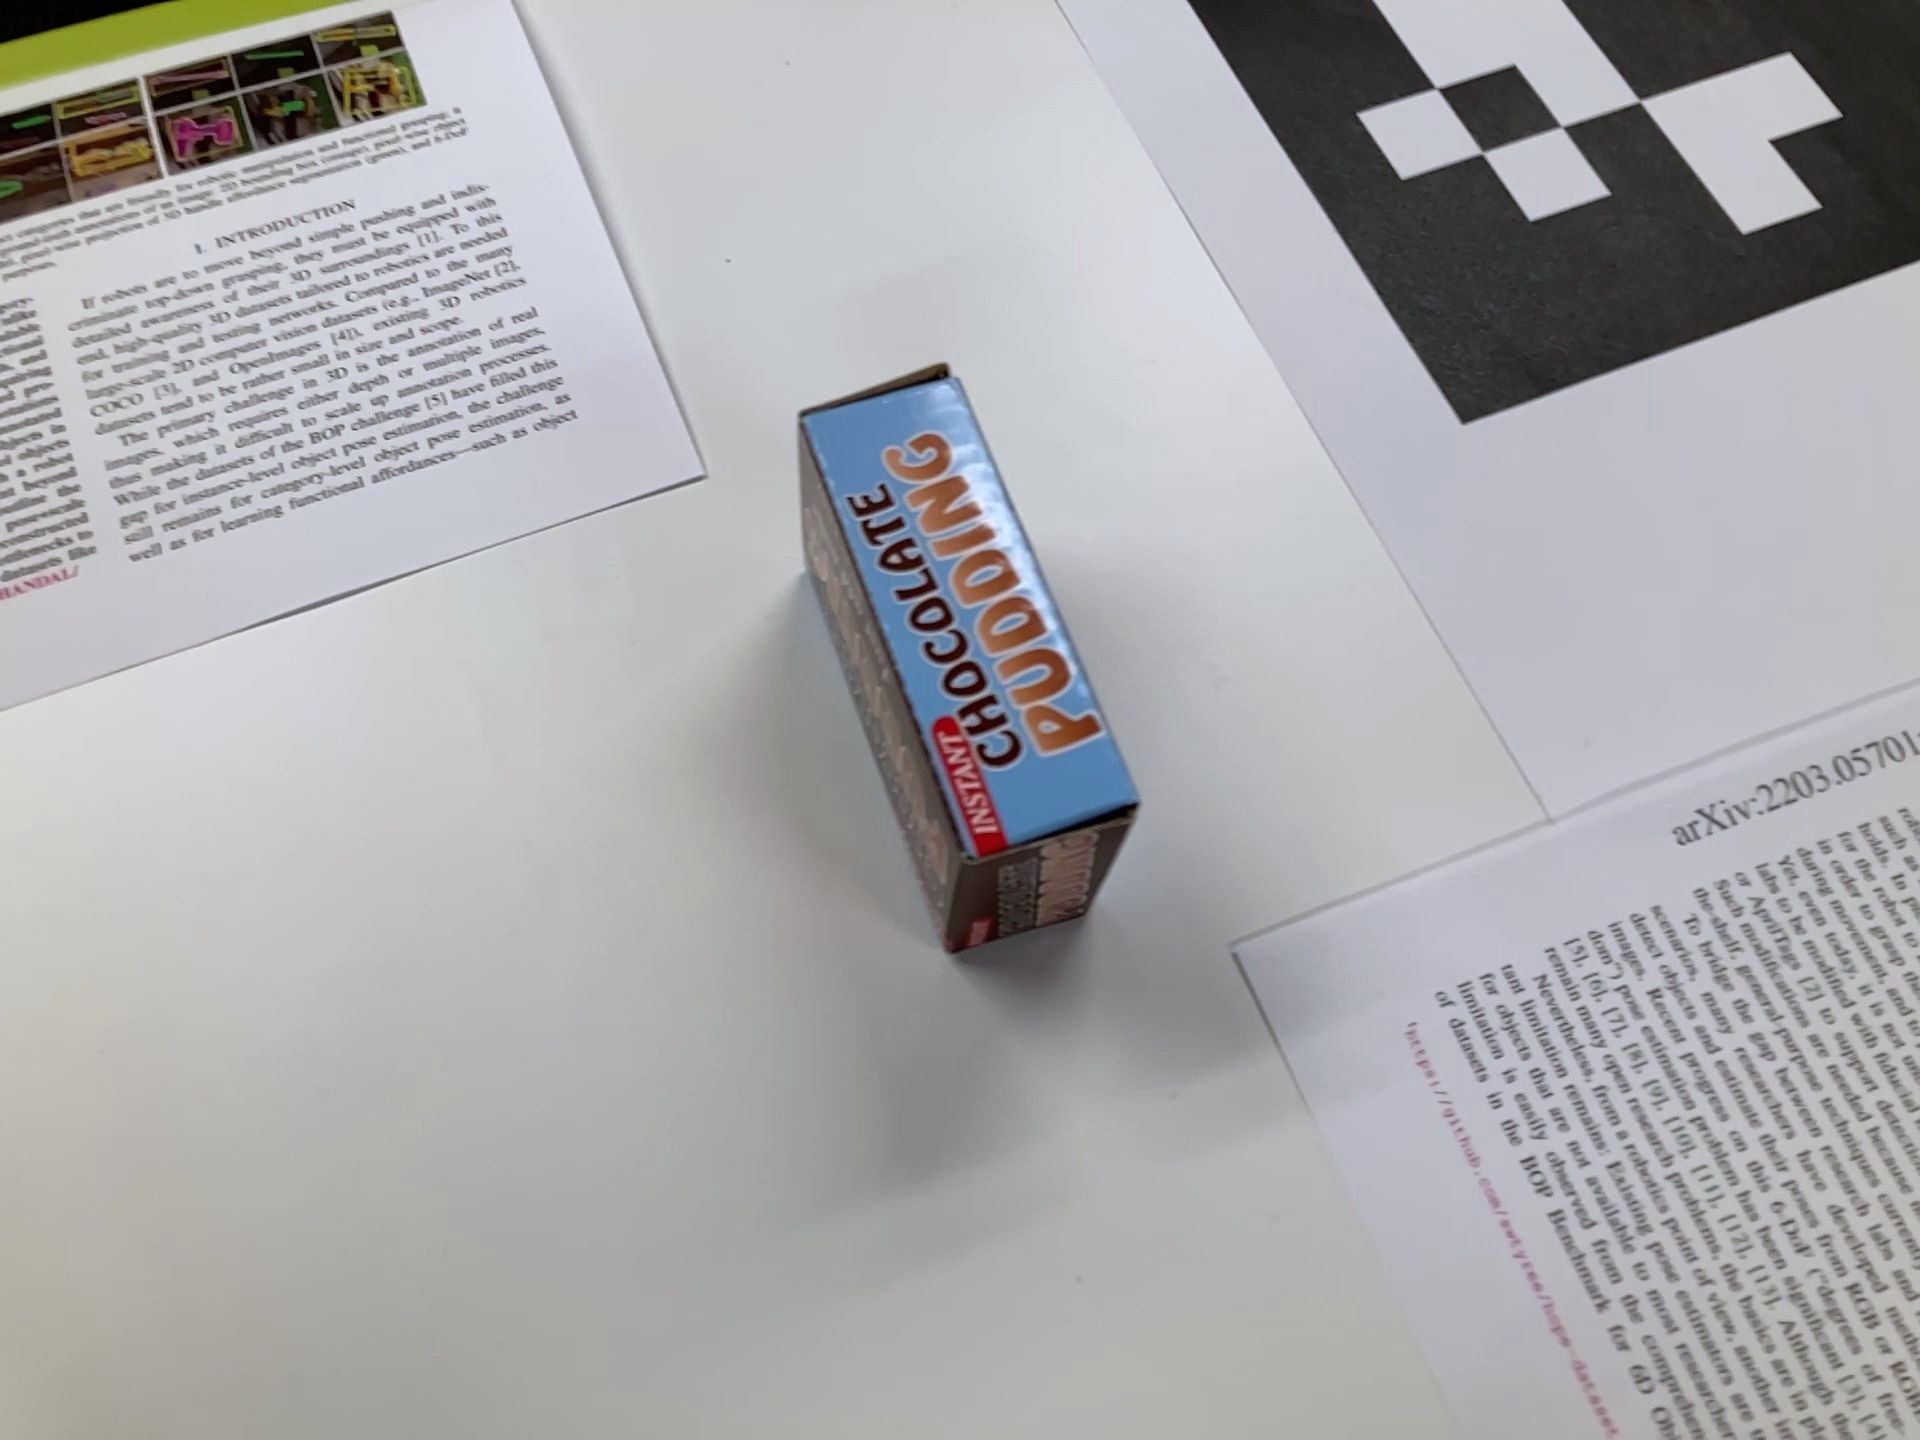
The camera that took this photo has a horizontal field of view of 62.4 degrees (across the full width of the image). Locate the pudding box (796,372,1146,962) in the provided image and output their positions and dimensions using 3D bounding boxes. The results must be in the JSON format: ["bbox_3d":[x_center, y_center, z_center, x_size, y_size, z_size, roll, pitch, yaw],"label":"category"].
[{"bbox_3d":[-0.001,-0.008,0.265,0.030,0.049,0.083,-17,67,-11],"label":"pudding box"}]
